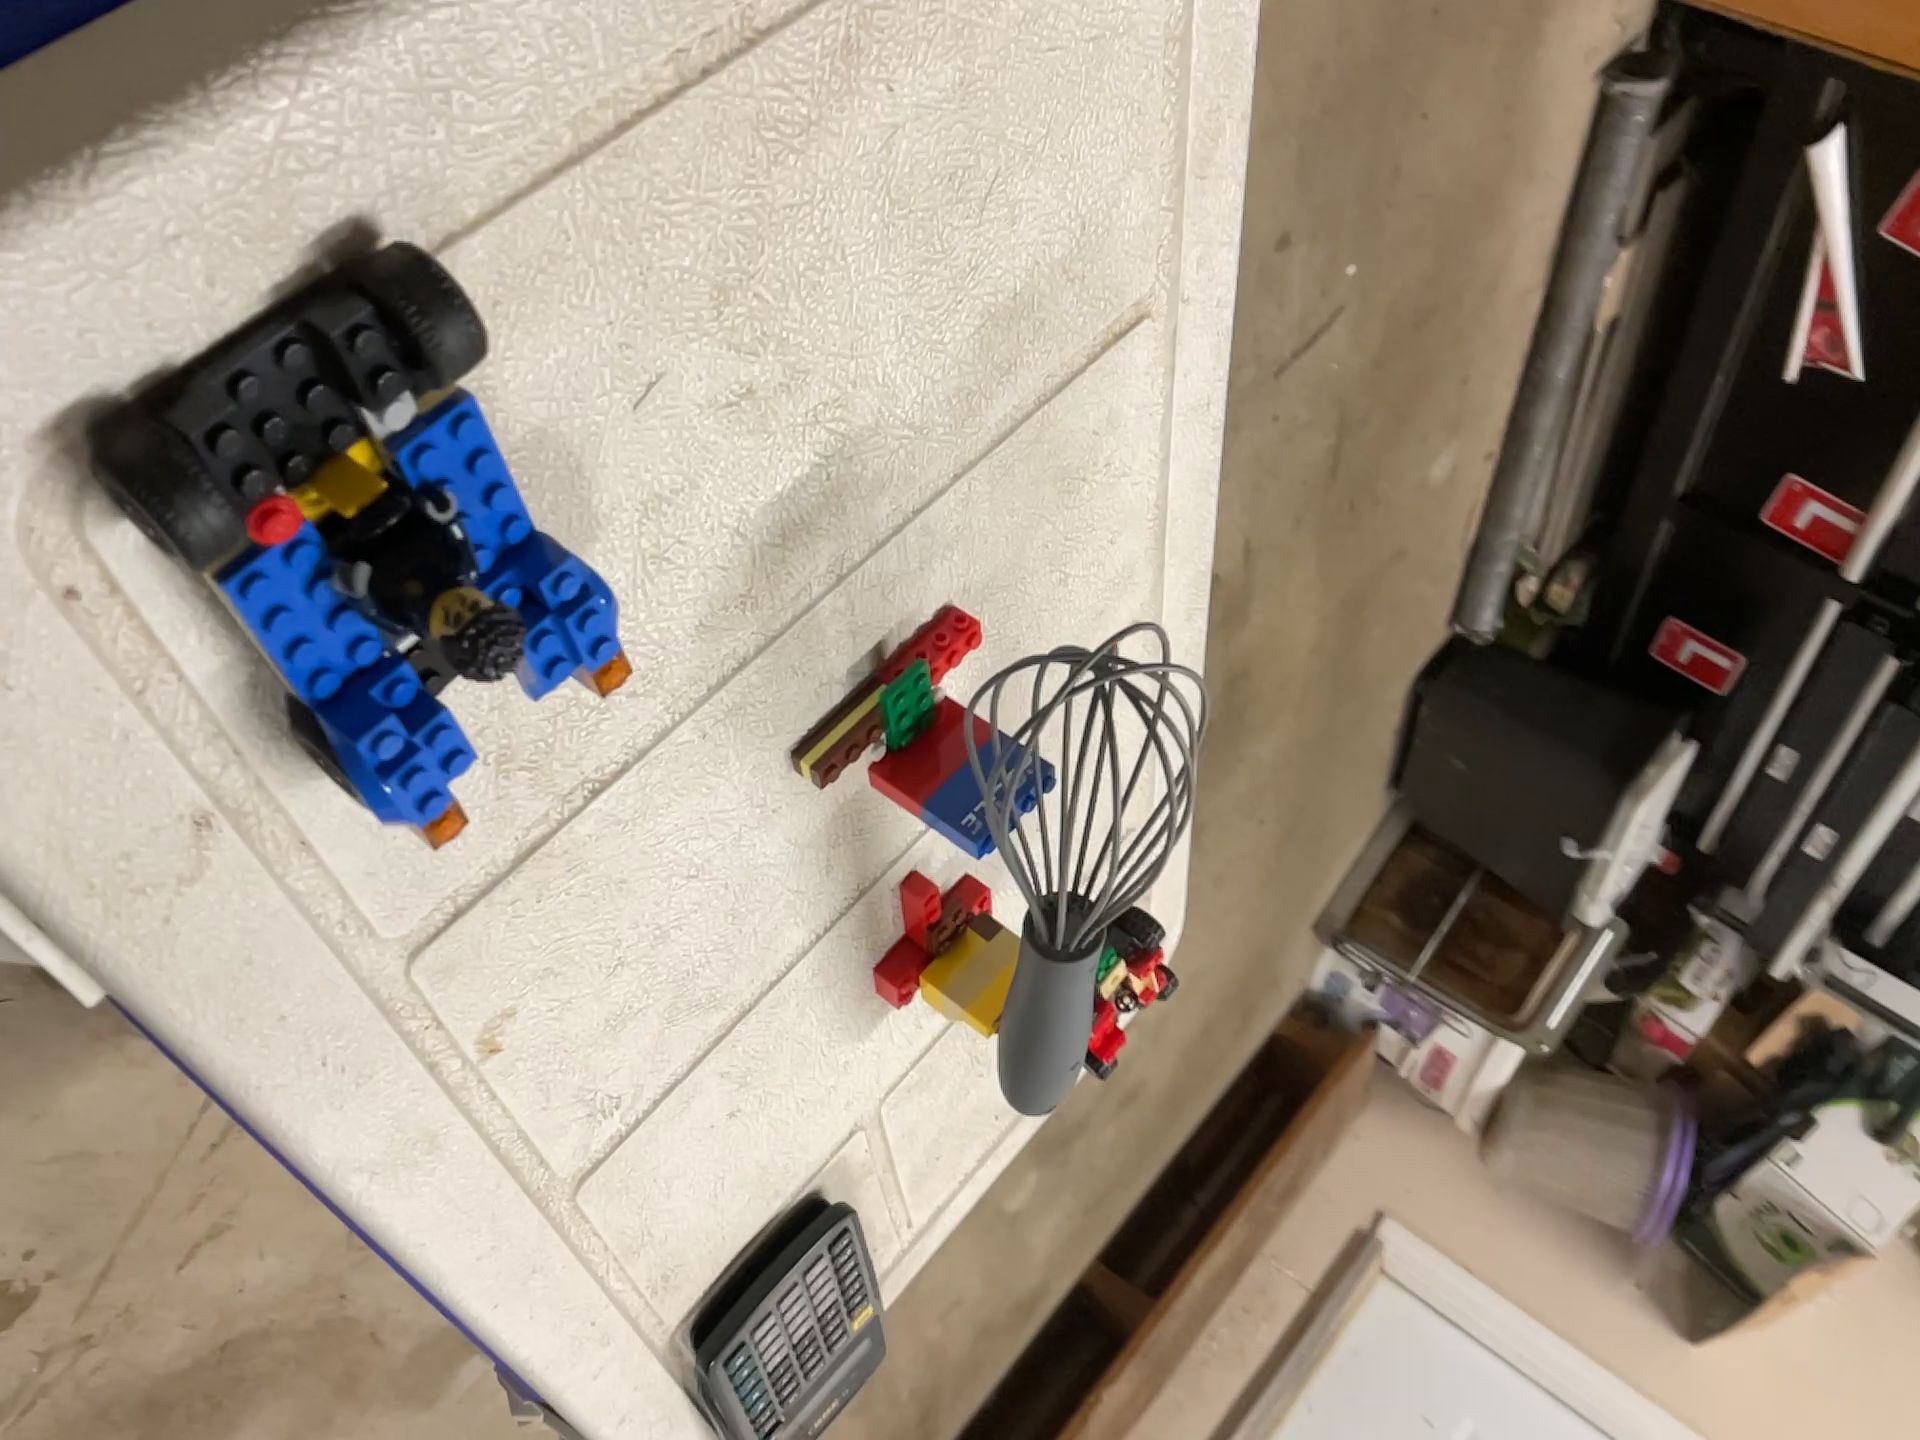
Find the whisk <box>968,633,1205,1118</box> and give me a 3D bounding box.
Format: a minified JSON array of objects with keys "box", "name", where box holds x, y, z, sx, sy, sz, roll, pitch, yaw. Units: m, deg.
[{"box":[0.025,0.057,0.435,0.055,0.055,0.239,-40,154,-27],"name":"whisk"}]
